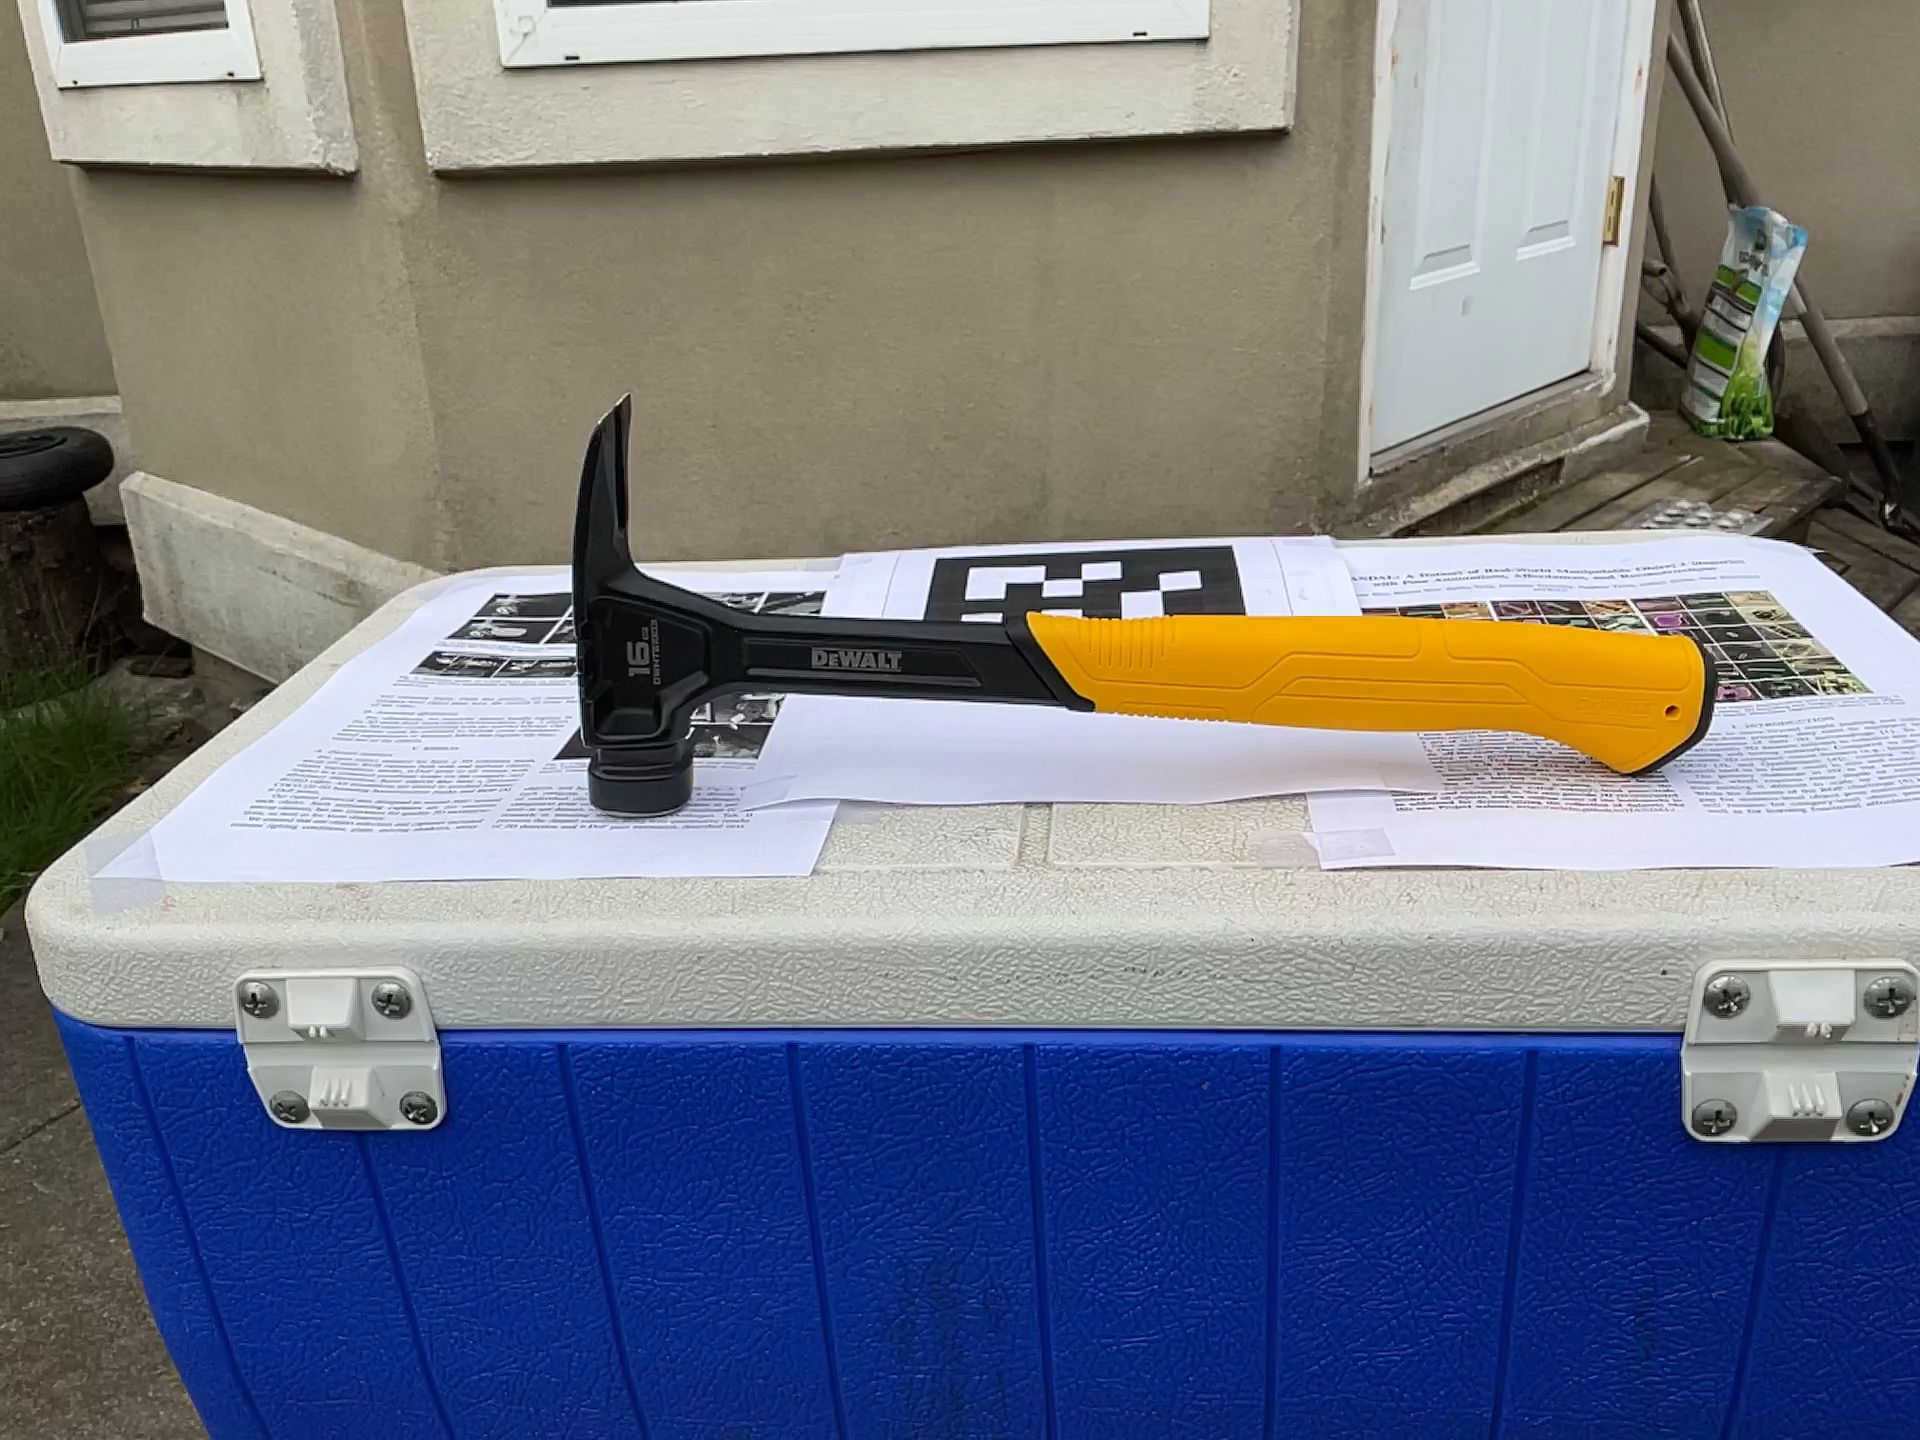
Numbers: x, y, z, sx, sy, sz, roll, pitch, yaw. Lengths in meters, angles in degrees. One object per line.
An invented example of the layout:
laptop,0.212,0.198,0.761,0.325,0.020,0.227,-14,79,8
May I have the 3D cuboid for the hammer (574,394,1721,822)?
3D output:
hammer,0.054,-0.023,0.476,0.337,0.127,0.034,3,23,1
